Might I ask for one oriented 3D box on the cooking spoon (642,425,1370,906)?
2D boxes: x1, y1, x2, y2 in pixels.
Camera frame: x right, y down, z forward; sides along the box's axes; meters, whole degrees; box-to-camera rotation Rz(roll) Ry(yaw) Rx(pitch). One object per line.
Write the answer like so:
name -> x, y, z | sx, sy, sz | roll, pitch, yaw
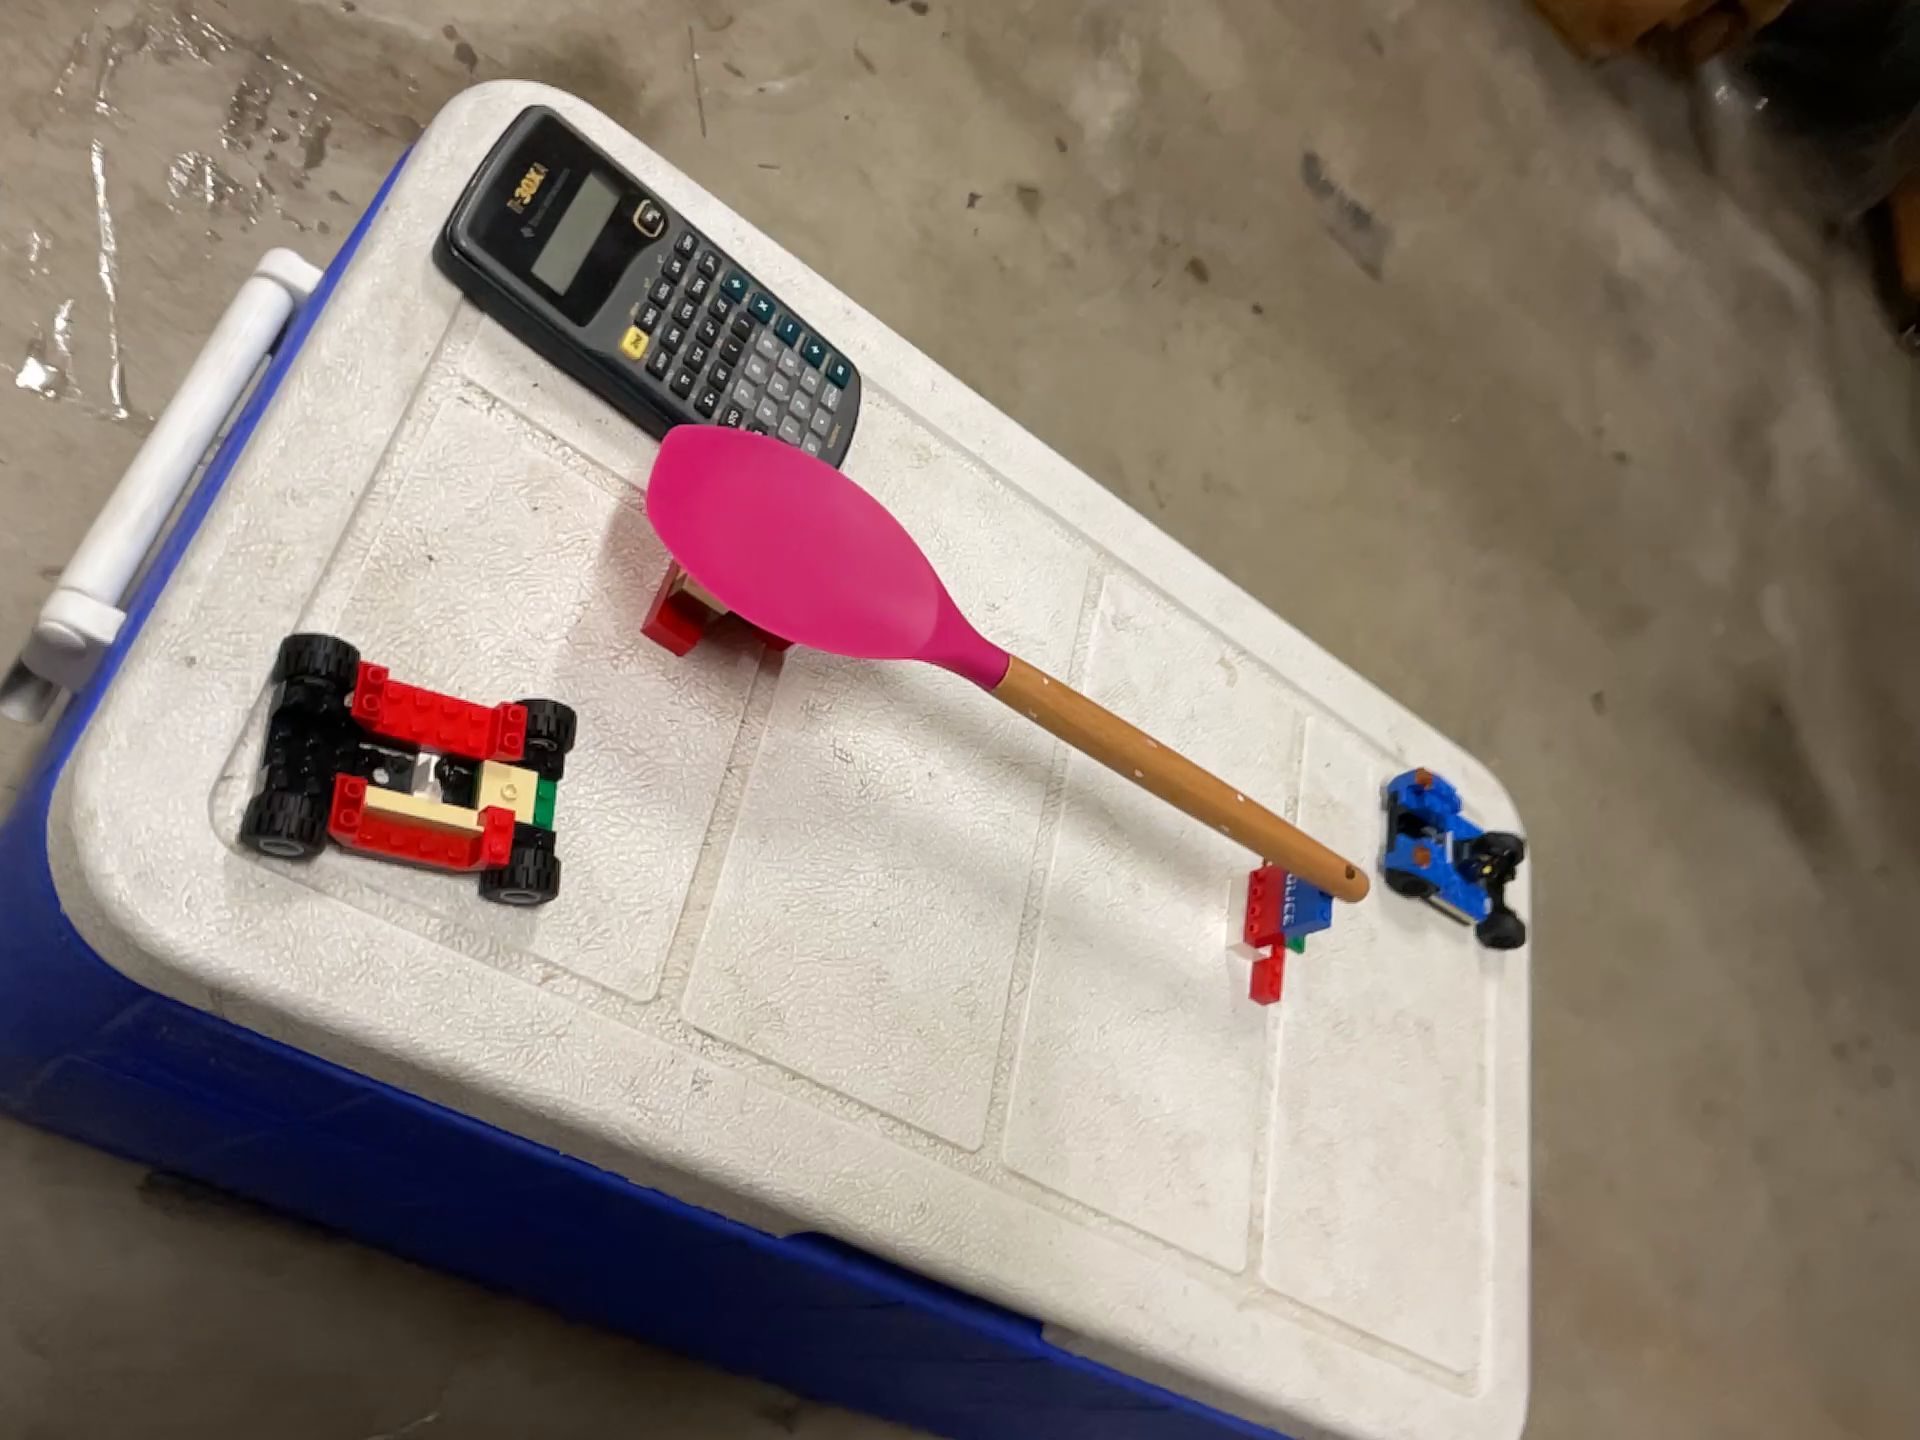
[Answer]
cooking spoon -> 0.031, -0.004, 0.546 | 0.319, 0.017, 0.069 | 30, 55, -27
